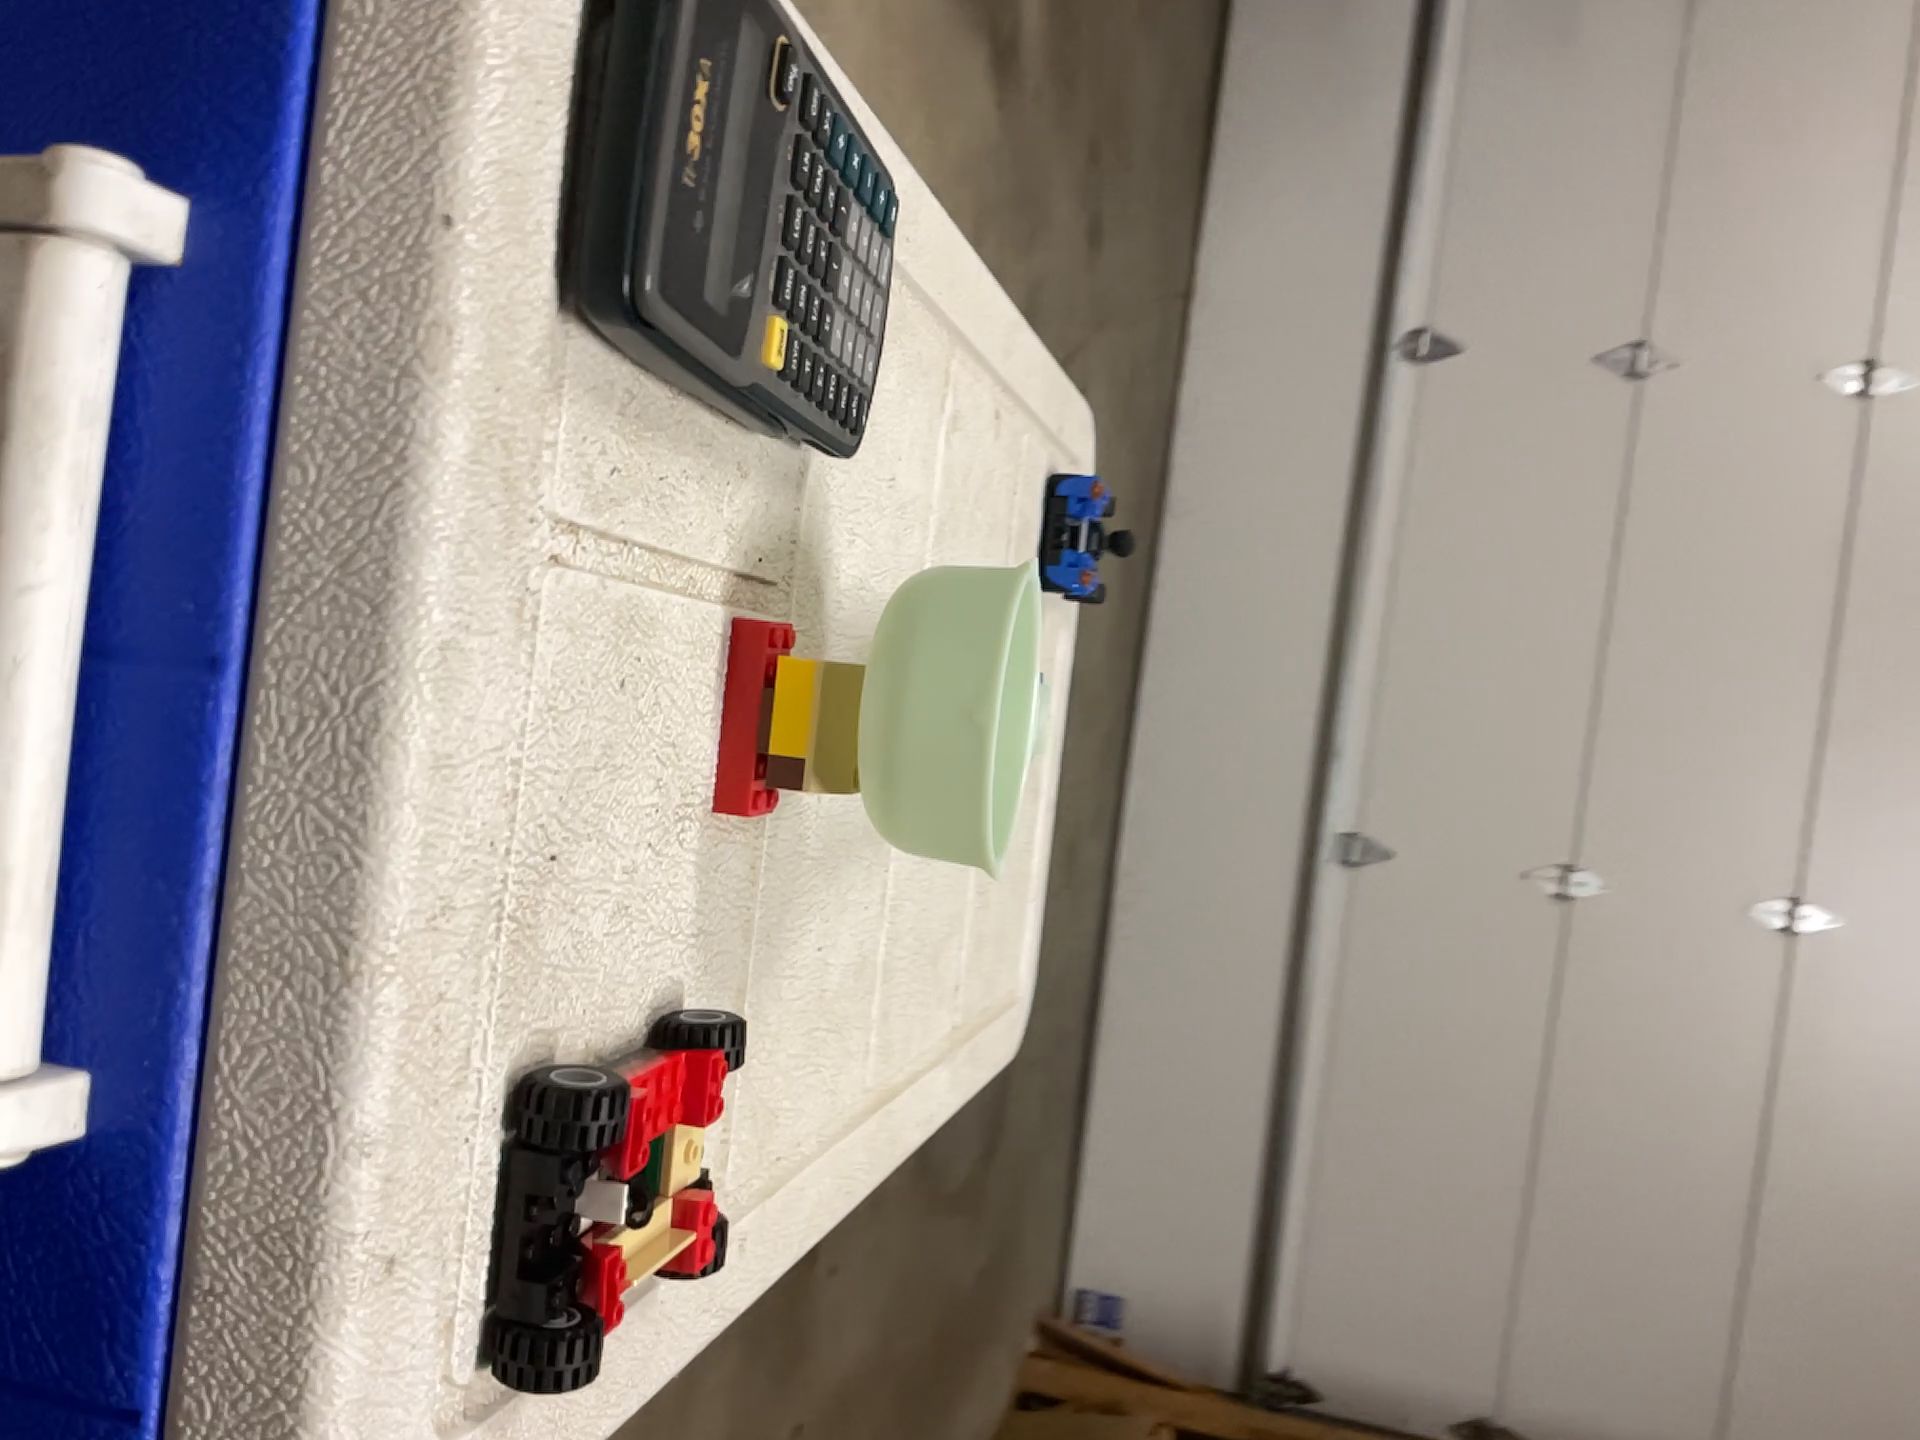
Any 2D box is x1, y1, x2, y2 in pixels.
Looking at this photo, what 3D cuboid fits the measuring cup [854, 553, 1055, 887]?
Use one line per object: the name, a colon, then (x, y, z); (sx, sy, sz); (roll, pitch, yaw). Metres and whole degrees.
measuring cup: (0.004, -0.003, 0.445); (0.167, 0.038, 0.083); (-9, 105, -82)
